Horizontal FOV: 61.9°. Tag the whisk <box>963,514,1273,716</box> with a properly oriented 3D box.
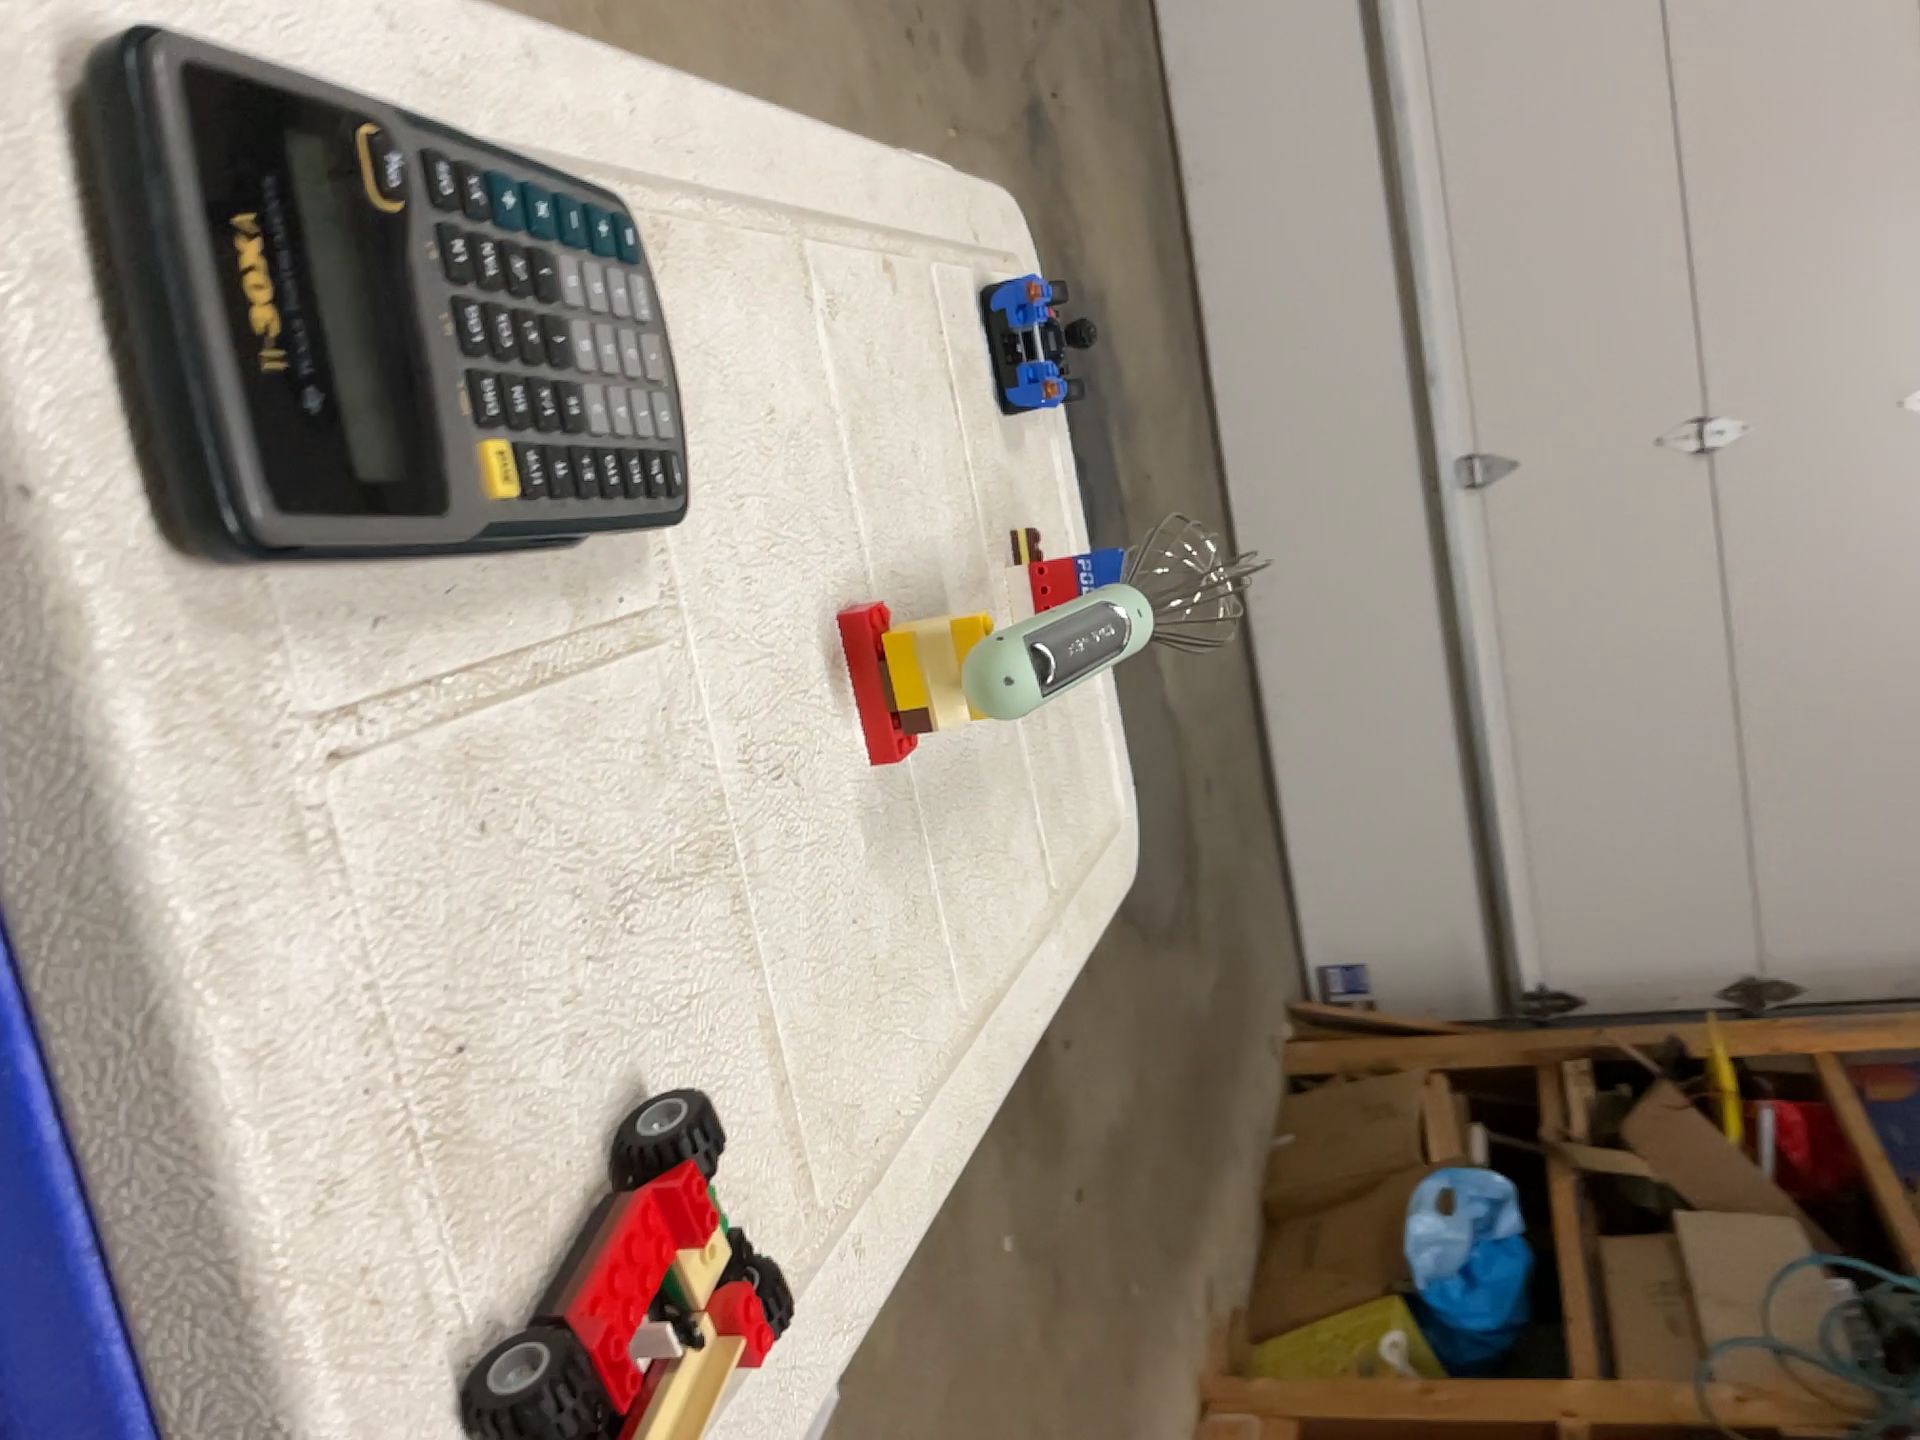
[{"bbox_3d":[0.058,-0.037,0.557,0.246,0.059,0.058,-27,101,-63],"label":"whisk"}]
